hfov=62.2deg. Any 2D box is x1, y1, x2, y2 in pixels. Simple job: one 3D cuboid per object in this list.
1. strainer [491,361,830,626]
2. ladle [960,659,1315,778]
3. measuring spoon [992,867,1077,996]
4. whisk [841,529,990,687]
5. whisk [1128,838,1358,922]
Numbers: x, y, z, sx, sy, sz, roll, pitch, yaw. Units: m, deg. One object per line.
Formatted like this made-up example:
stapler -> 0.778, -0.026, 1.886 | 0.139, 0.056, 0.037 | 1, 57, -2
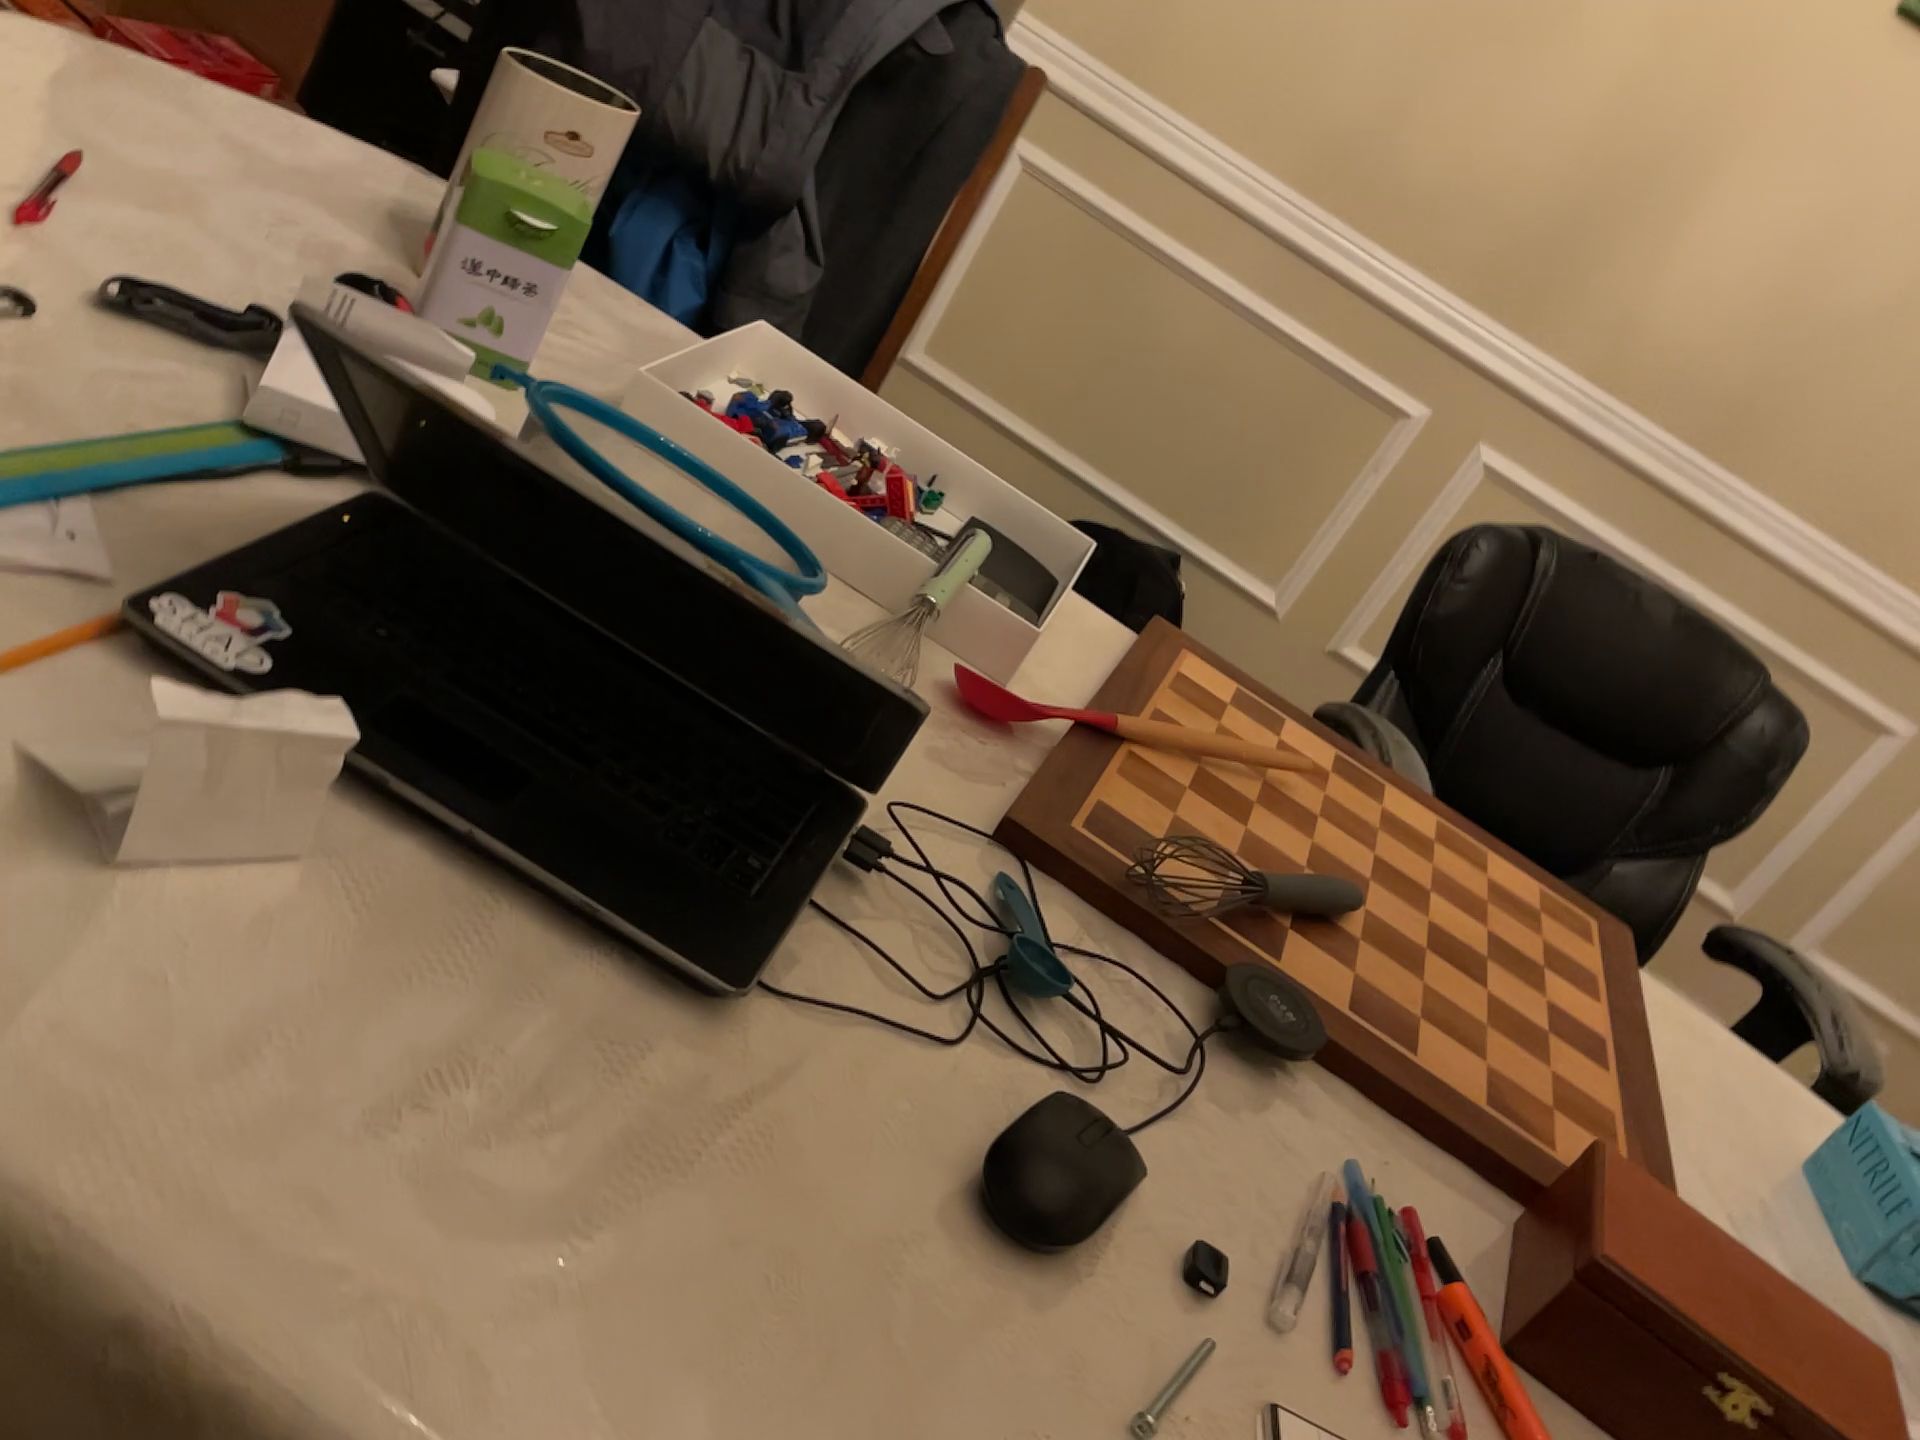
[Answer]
strainer -> -0.156, -0.072, 0.924 | 0.210, 0.095, 0.341 | 24, 18, -48
ladle -> 0.137, 0.007, 1.173 | 0.315, 0.031, 0.069 | 14, 9, -26
measuring spoon -> 0.032, 0.120, 0.902 | 0.042, 0.021, 0.129 | 31, 12, -22
whisk -> -0.030, -0.072, 1.091 | 0.059, 0.058, 0.246 | 57, 35, -18
whisk -> 0.190, 0.112, 1.034 | 0.238, 0.055, 0.055 | 13, 45, -43
